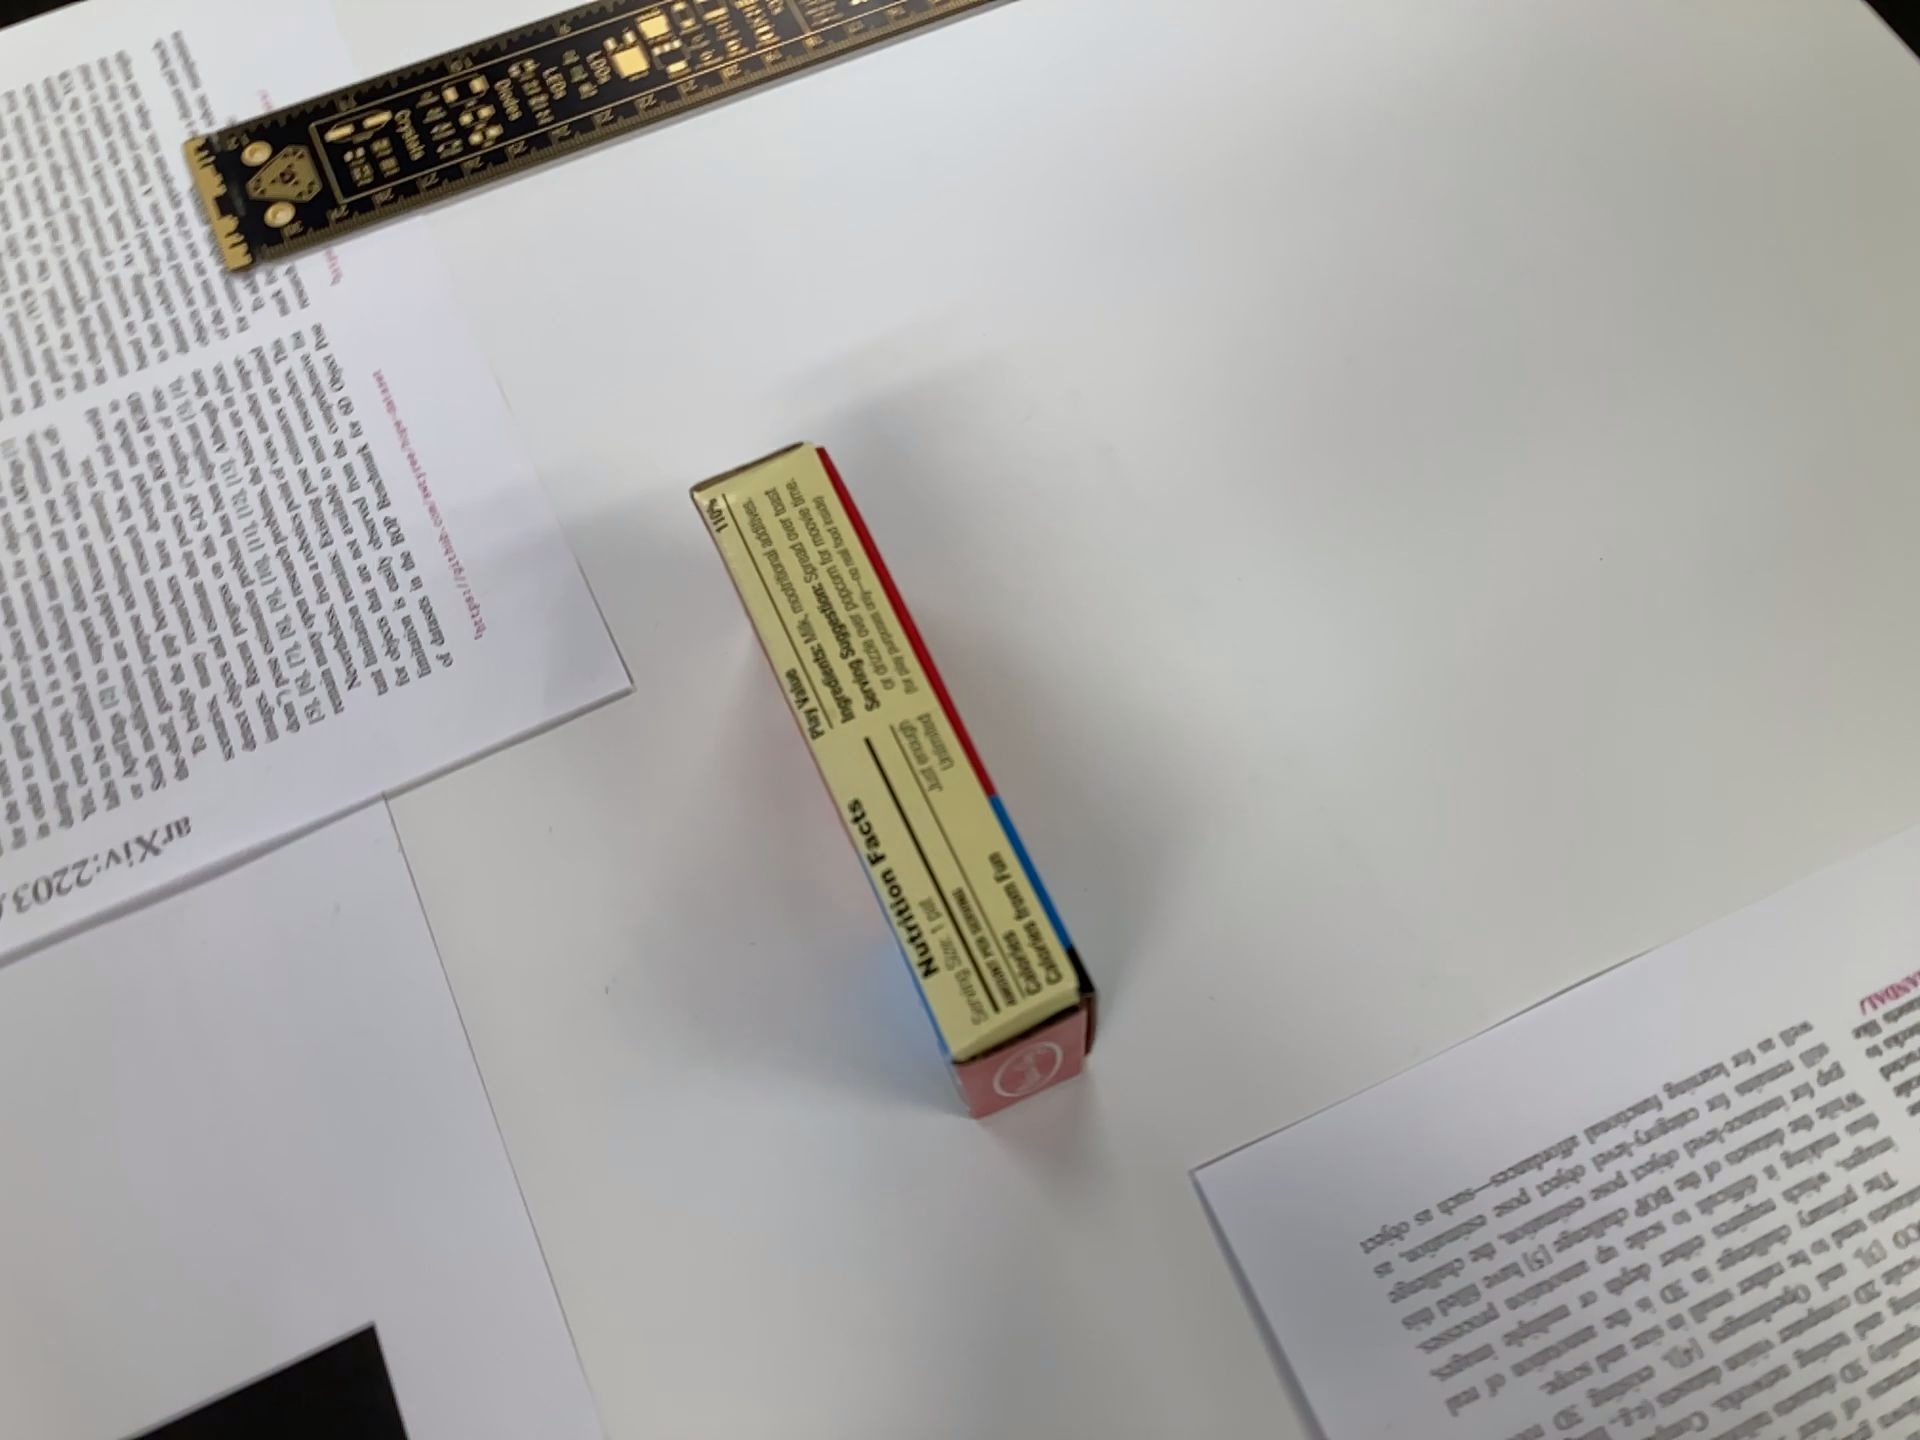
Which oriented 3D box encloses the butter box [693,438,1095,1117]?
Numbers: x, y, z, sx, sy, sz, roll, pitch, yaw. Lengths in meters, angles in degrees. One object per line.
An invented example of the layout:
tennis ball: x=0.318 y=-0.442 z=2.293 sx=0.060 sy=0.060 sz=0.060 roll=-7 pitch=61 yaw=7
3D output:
butter box: x=-0.010 y=0.009 z=0.257 sx=0.024 sy=0.053 sz=0.103 roll=-24 pitch=69 yaw=-6
